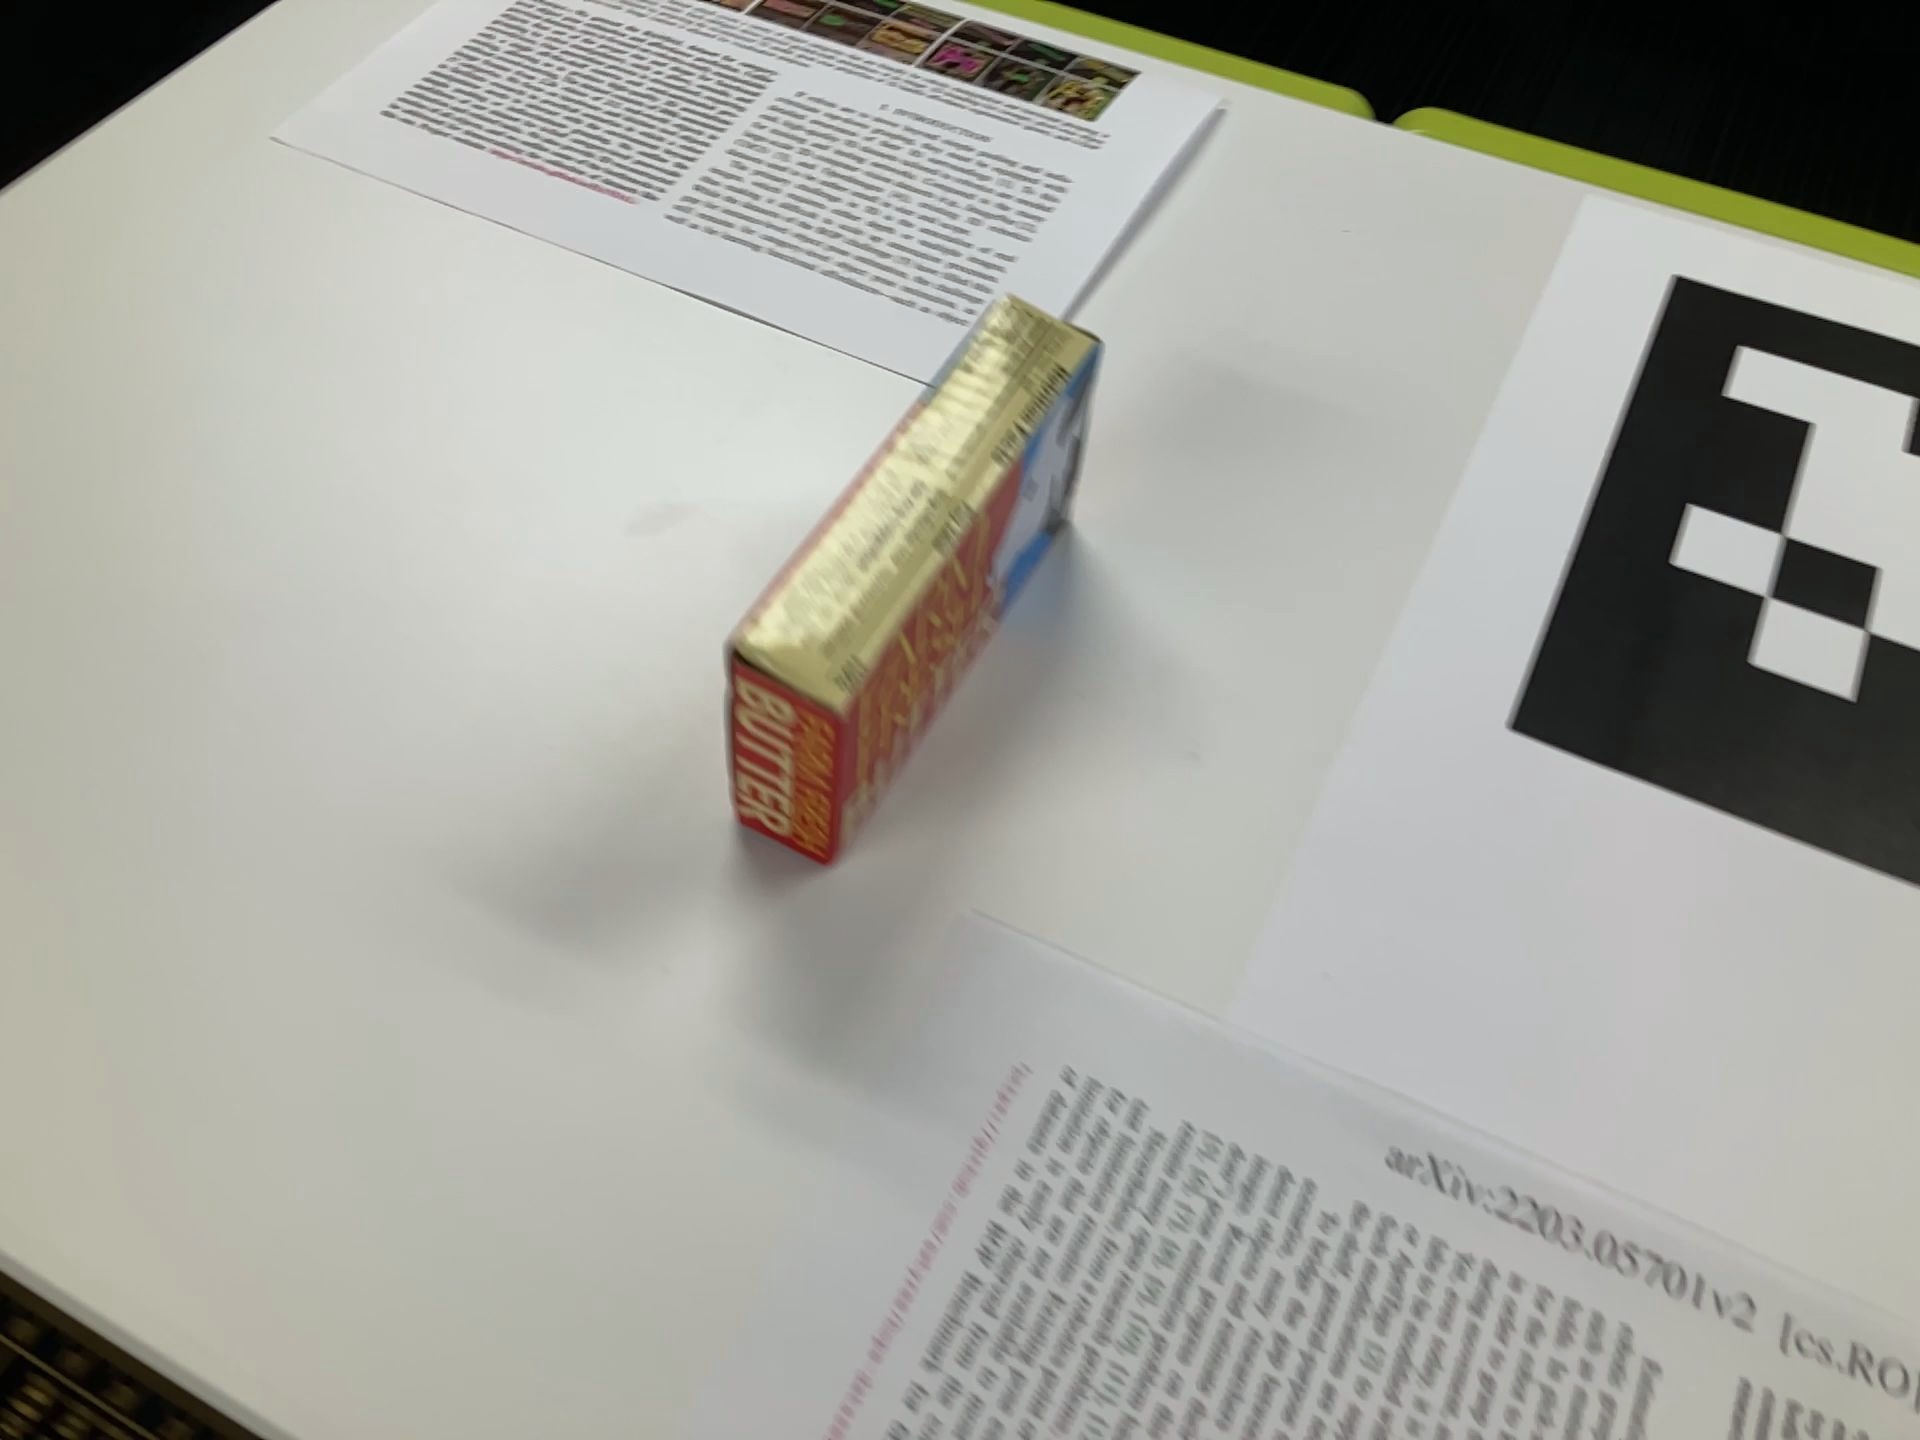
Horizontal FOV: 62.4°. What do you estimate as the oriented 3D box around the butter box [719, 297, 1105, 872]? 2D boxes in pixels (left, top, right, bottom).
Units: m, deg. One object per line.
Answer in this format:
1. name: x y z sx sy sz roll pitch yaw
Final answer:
1. butter box: -0.008 -0.027 0.296 0.024 0.053 0.103 25 57 12
